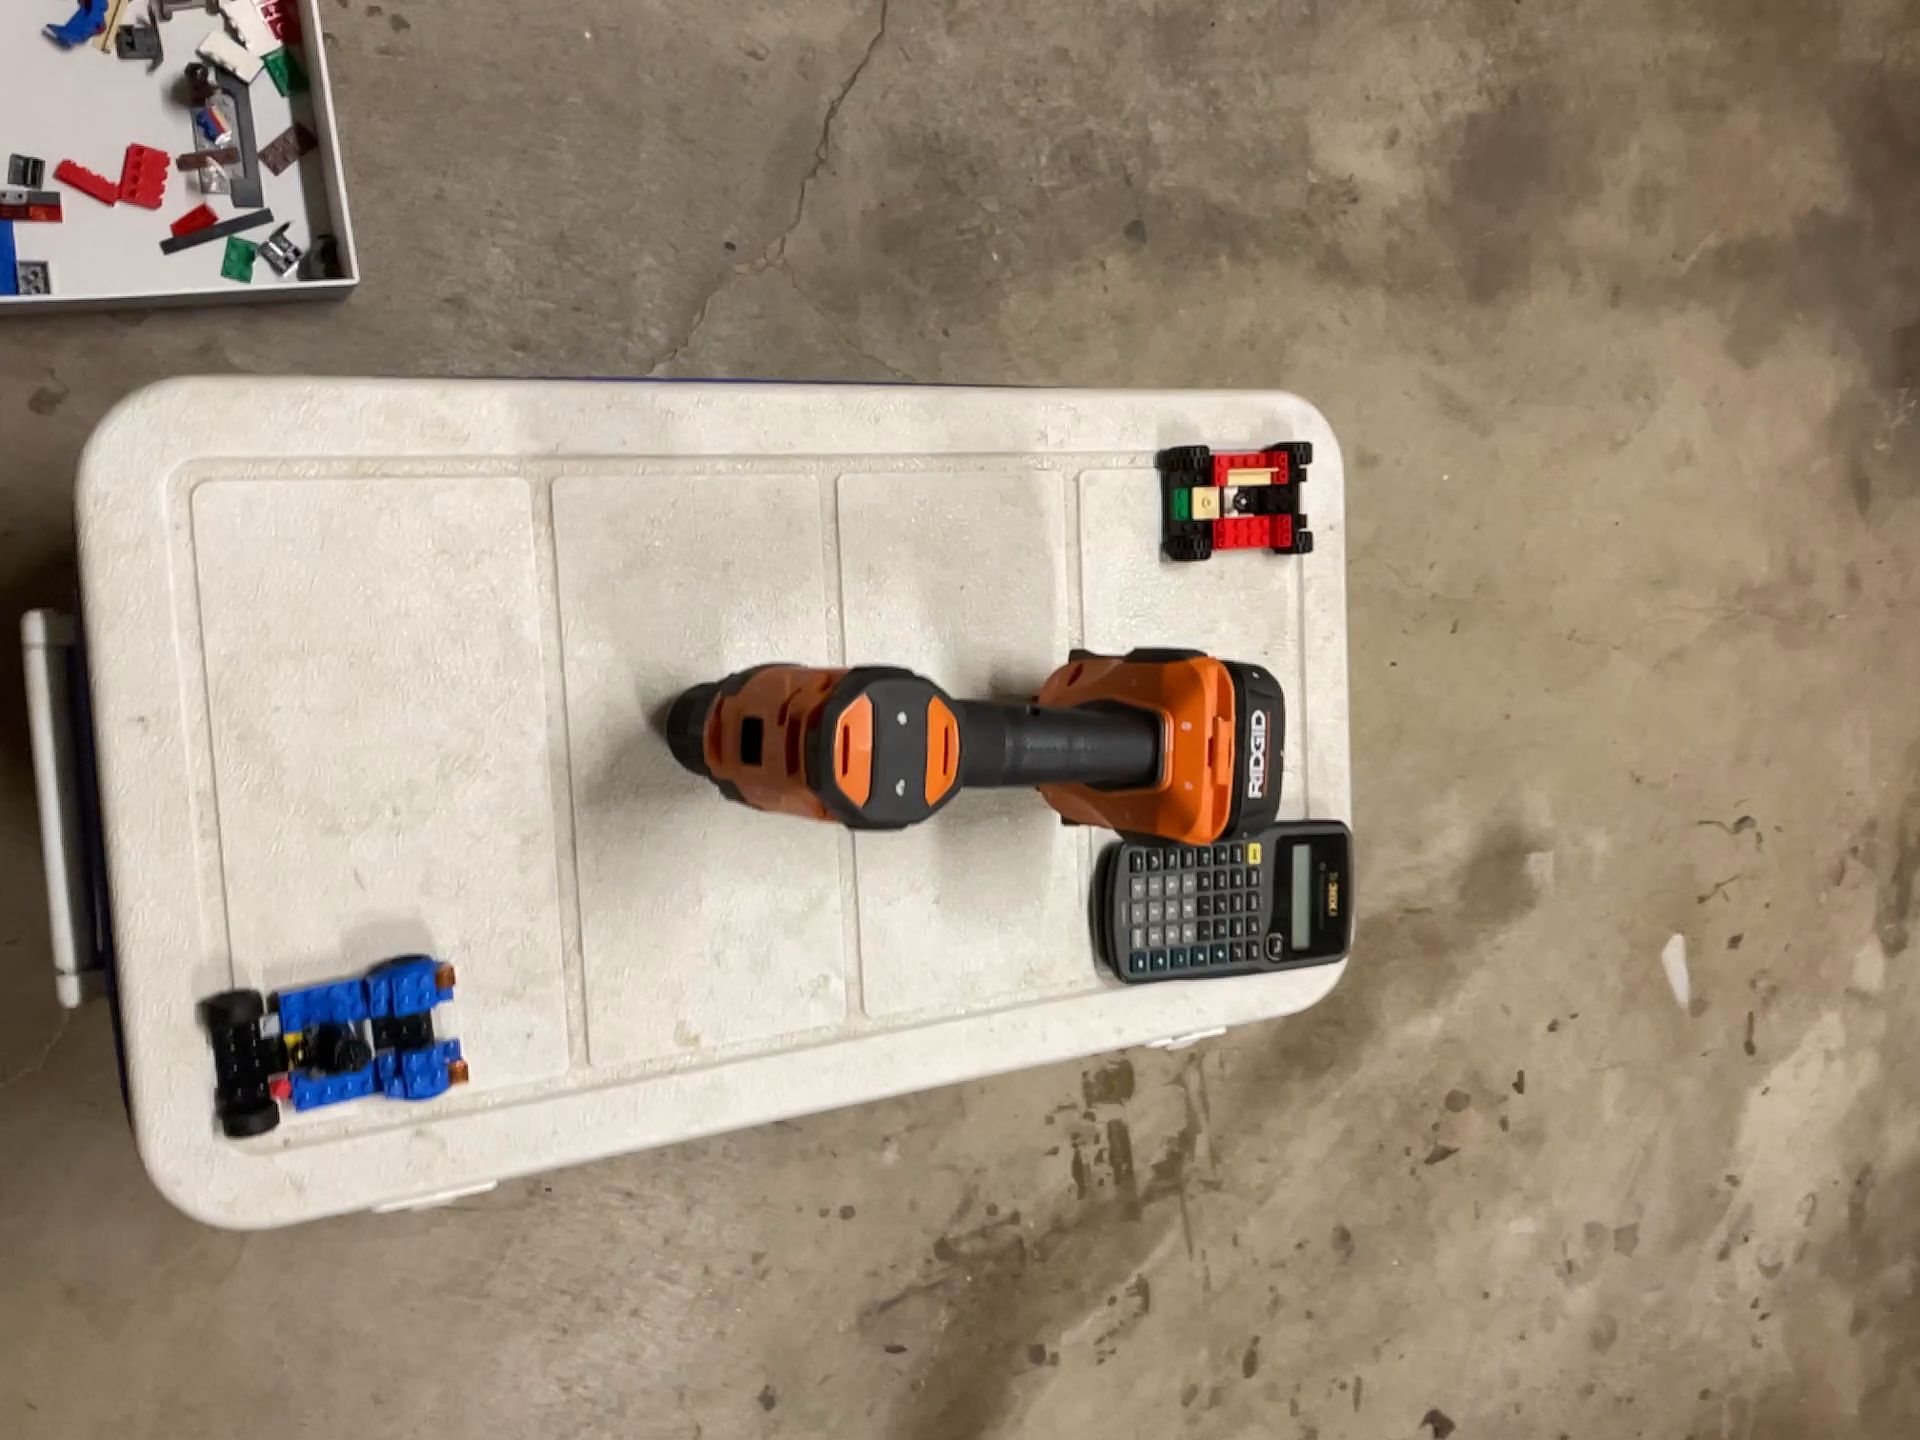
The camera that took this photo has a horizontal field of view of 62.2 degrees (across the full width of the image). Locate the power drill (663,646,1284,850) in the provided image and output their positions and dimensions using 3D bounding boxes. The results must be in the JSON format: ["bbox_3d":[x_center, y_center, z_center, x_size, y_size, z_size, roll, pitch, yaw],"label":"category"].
[{"bbox_3d":[-0.002,0.009,0.673,0.226,0.185,0.084,1,91,-32],"label":"power drill"}]
